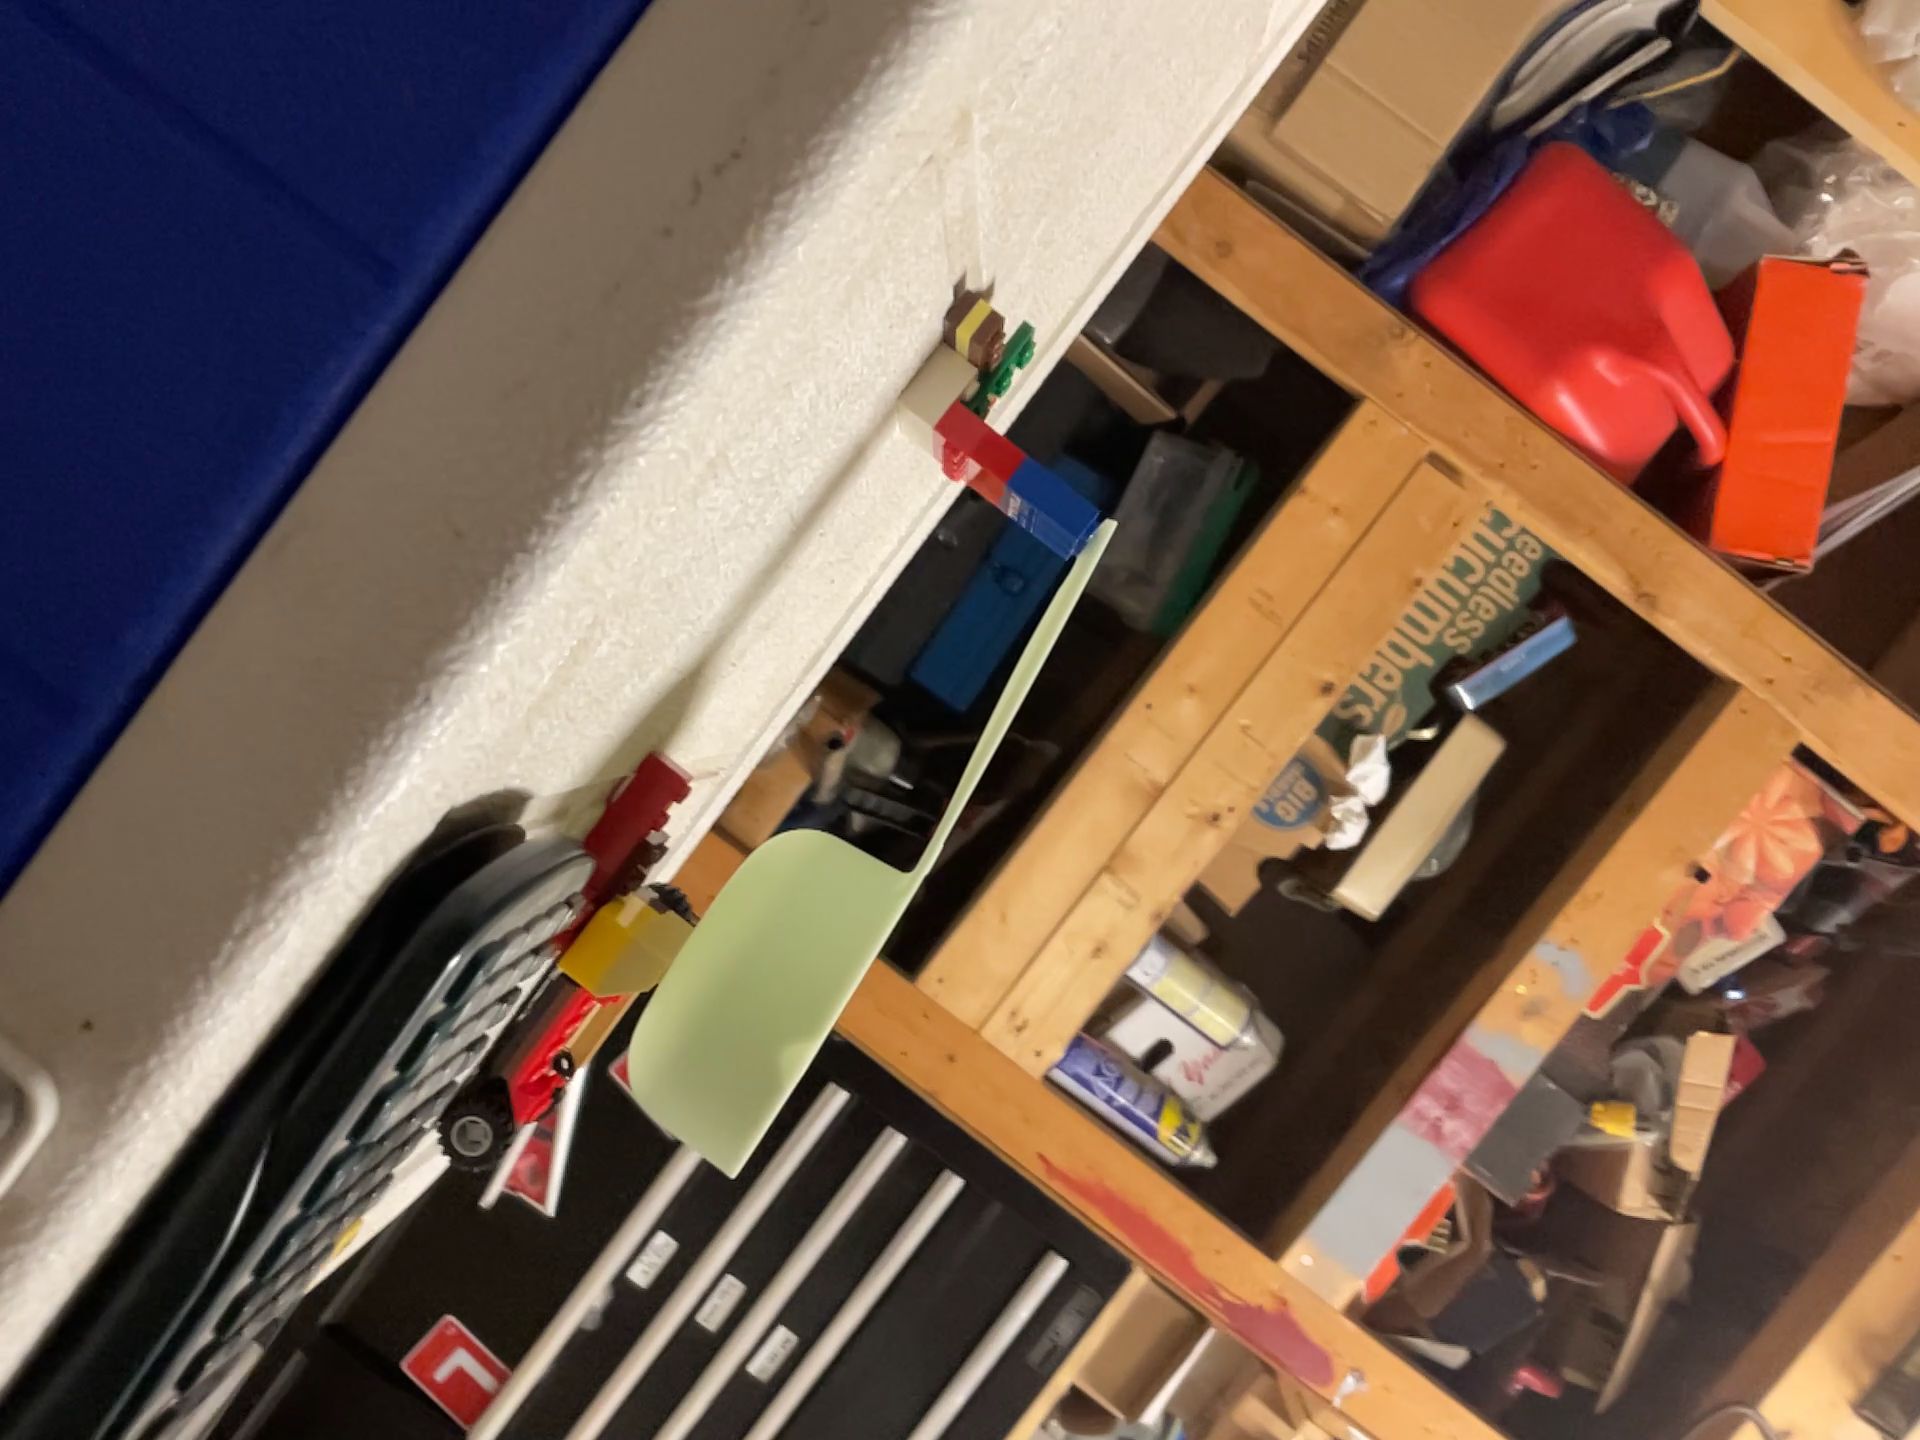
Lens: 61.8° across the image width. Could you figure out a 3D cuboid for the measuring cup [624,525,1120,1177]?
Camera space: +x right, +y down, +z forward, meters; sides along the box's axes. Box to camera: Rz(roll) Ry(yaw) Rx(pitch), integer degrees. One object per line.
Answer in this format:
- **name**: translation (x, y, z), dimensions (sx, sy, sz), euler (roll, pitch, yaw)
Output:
- **measuring cup**: translation (-0.021, 0.021, 0.358), dimensions (0.167, 0.038, 0.083), euler (-59, 178, 4)
